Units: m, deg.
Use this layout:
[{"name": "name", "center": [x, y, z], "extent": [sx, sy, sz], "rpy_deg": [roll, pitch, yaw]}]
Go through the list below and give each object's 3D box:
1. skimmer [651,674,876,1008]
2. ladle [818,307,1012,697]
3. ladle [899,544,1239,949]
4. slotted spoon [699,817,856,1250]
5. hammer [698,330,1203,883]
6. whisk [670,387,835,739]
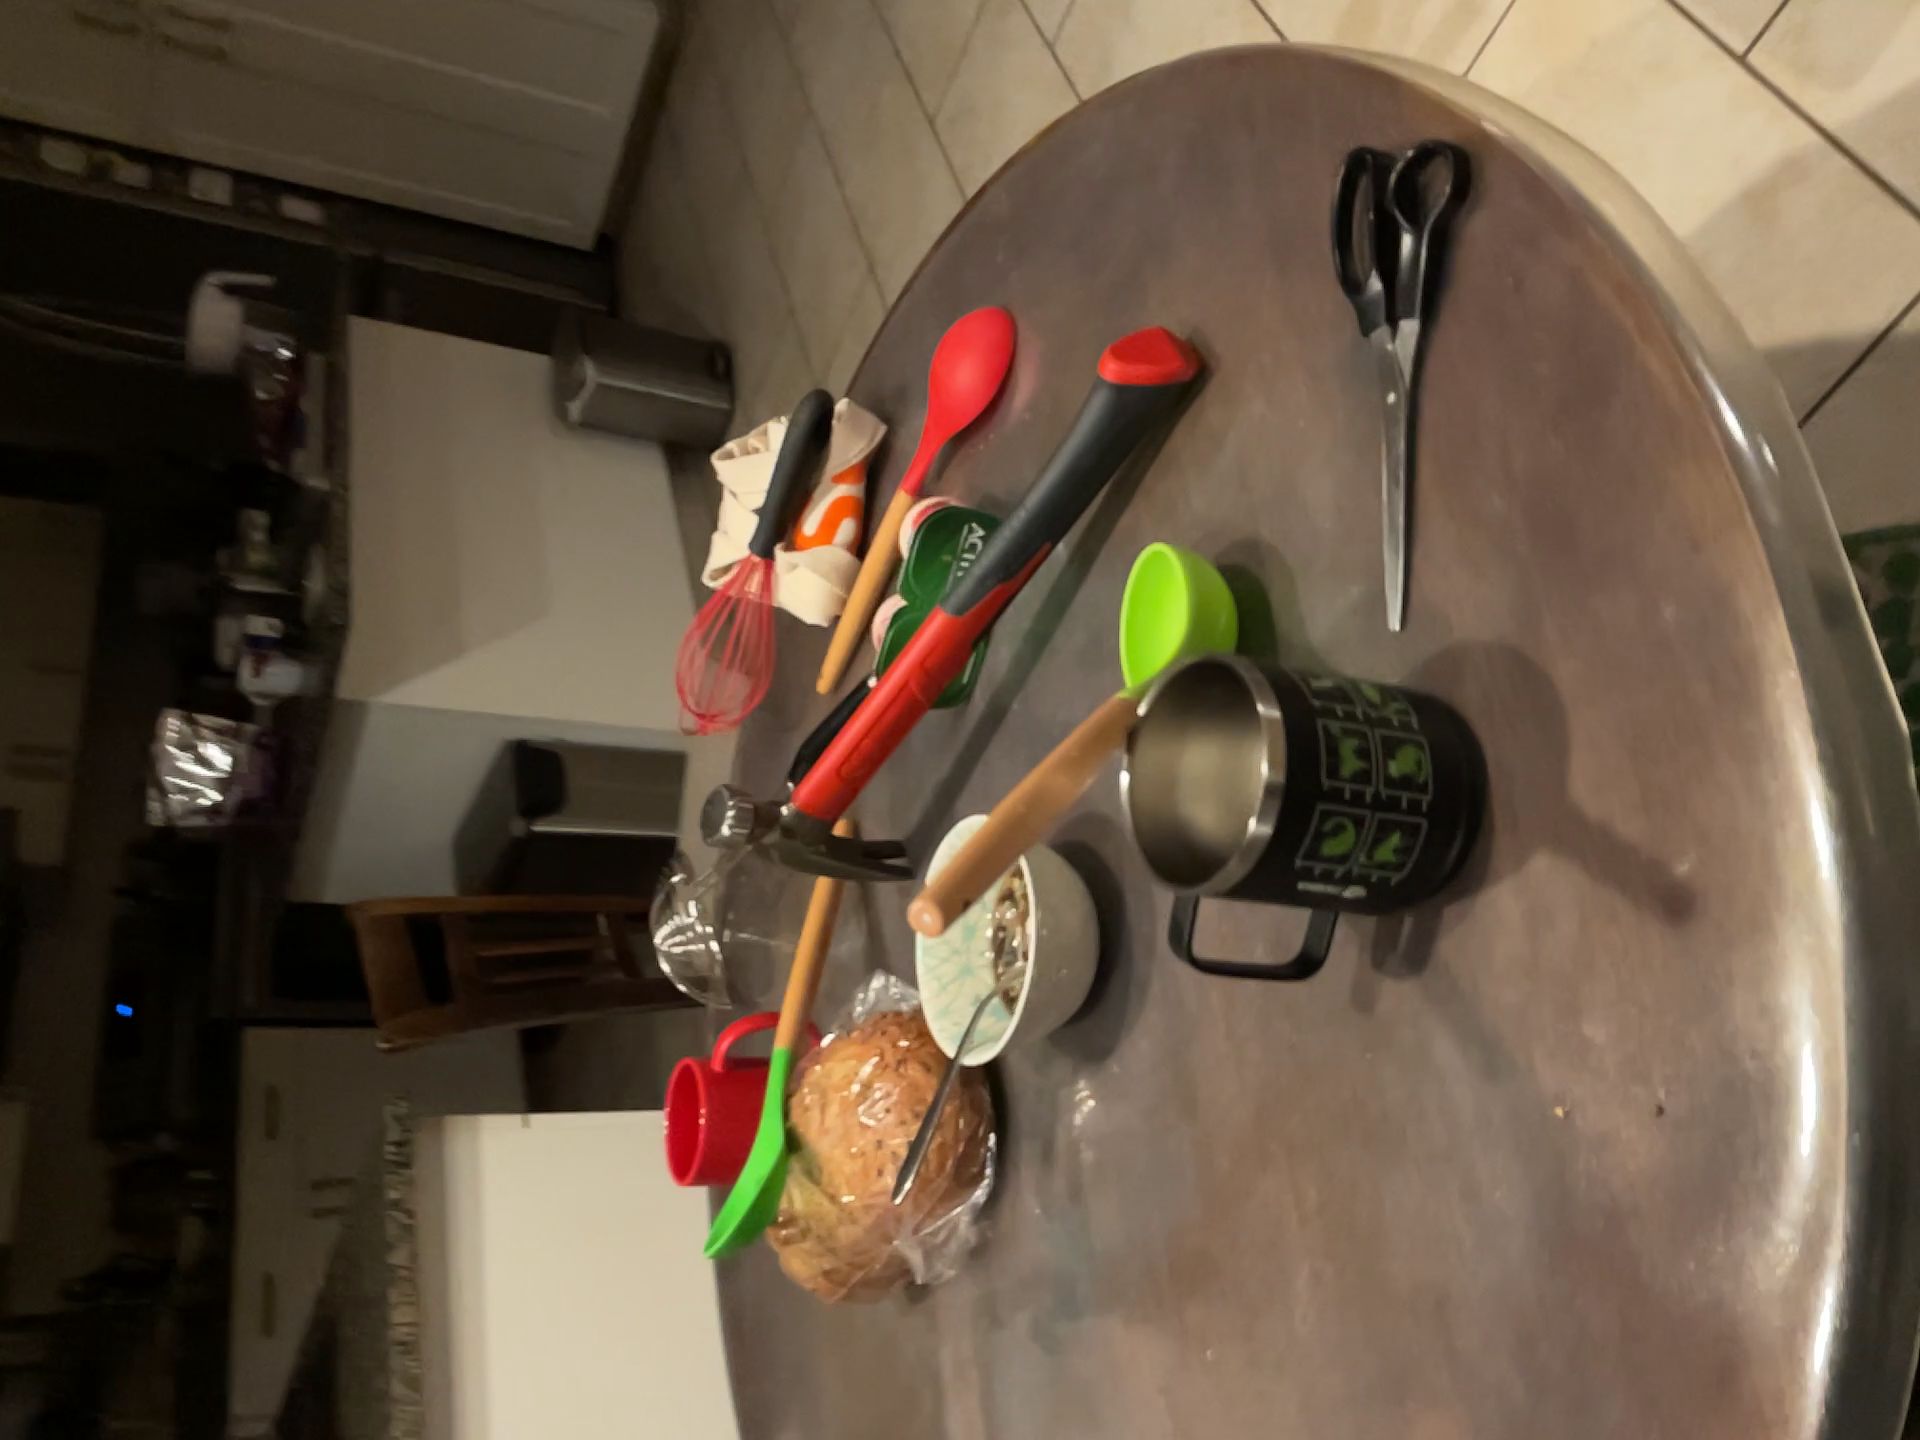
[{"name": "skimmer", "center": [-0.124, 0.082, 1.143], "extent": [0.363, 0.090, 0.127], "rpy_deg": [-46, 52, 34]}, {"name": "ladle", "center": [-0.040, -0.131, 1.036], "extent": [0.315, 0.031, 0.069], "rpy_deg": [-63, 33, 38]}, {"name": "ladle", "center": [0.043, 0.004, 0.604], "extent": [0.062, 0.320, 0.078], "rpy_deg": [17, 117, 20]}, {"name": "slotted spoon", "center": [-0.100, 0.179, 0.965], "extent": [0.070, 0.031, 0.314], "rpy_deg": [-48, 21, 42]}, {"name": "hammer", "center": [0.011, -0.045, 0.865], "extent": [0.386, 0.143, 0.038], "rpy_deg": [-50, 42, 30]}, {"name": "whisk", "center": [-0.146, -0.105, 1.124], "extent": [0.295, 0.073, 0.073], "rpy_deg": [-64, 31, 31]}]
